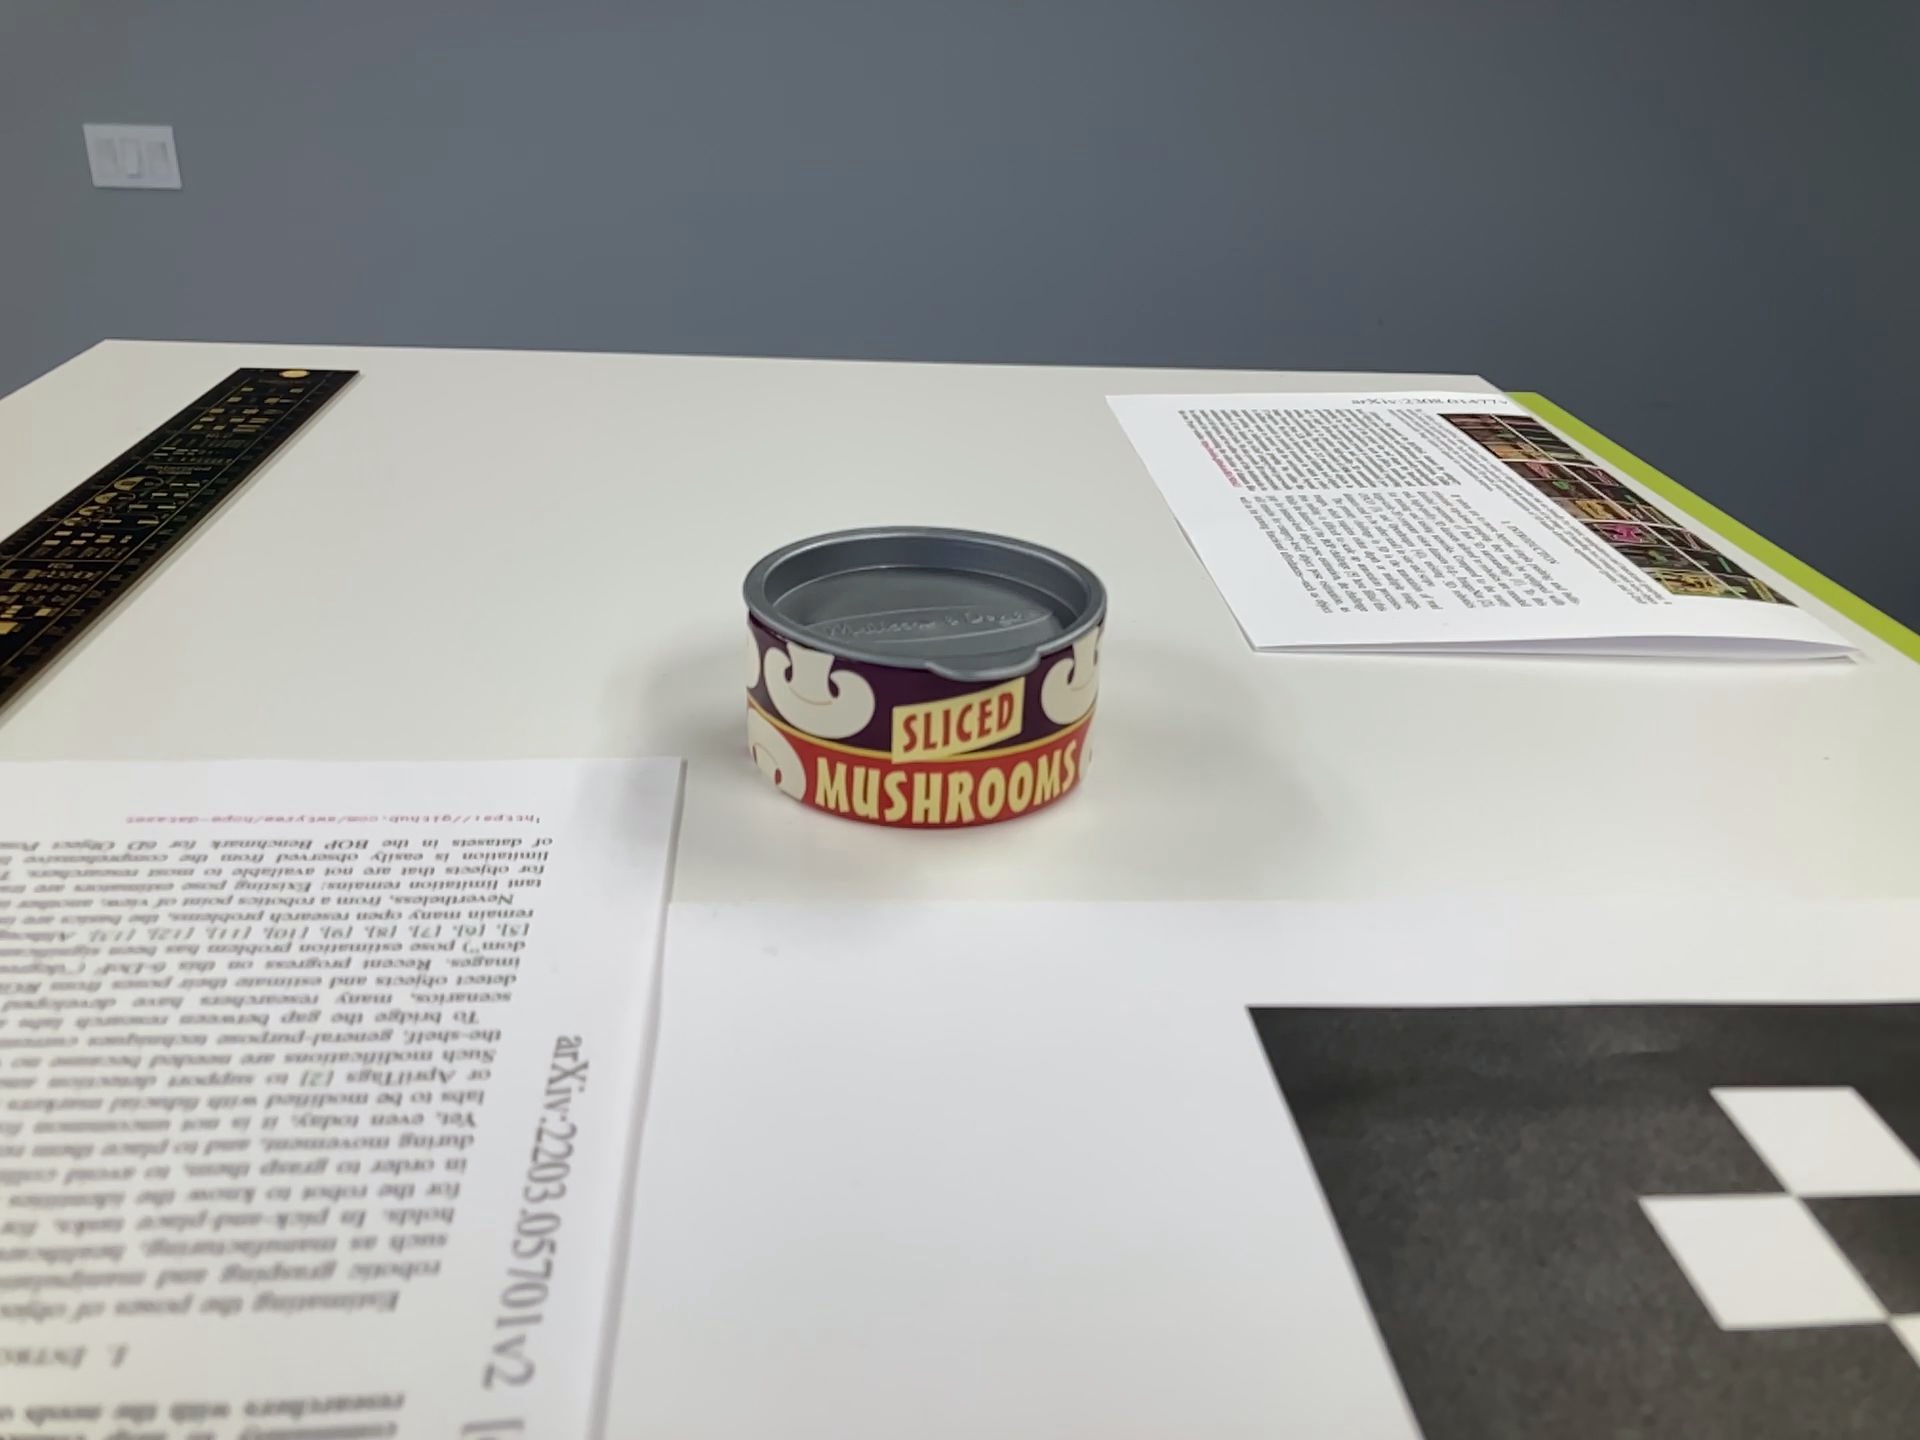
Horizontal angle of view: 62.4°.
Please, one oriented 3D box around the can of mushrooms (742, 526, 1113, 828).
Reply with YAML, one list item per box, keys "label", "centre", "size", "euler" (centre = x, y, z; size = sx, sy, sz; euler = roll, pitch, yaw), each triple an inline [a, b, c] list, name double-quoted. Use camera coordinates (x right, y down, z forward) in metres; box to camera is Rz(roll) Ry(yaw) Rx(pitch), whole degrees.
- label: "can of mushrooms"
  centre: [-0.006, -0.009, 0.288]
  size: [0.071, 0.033, 0.071]
  euler: [3, 25, -1]
